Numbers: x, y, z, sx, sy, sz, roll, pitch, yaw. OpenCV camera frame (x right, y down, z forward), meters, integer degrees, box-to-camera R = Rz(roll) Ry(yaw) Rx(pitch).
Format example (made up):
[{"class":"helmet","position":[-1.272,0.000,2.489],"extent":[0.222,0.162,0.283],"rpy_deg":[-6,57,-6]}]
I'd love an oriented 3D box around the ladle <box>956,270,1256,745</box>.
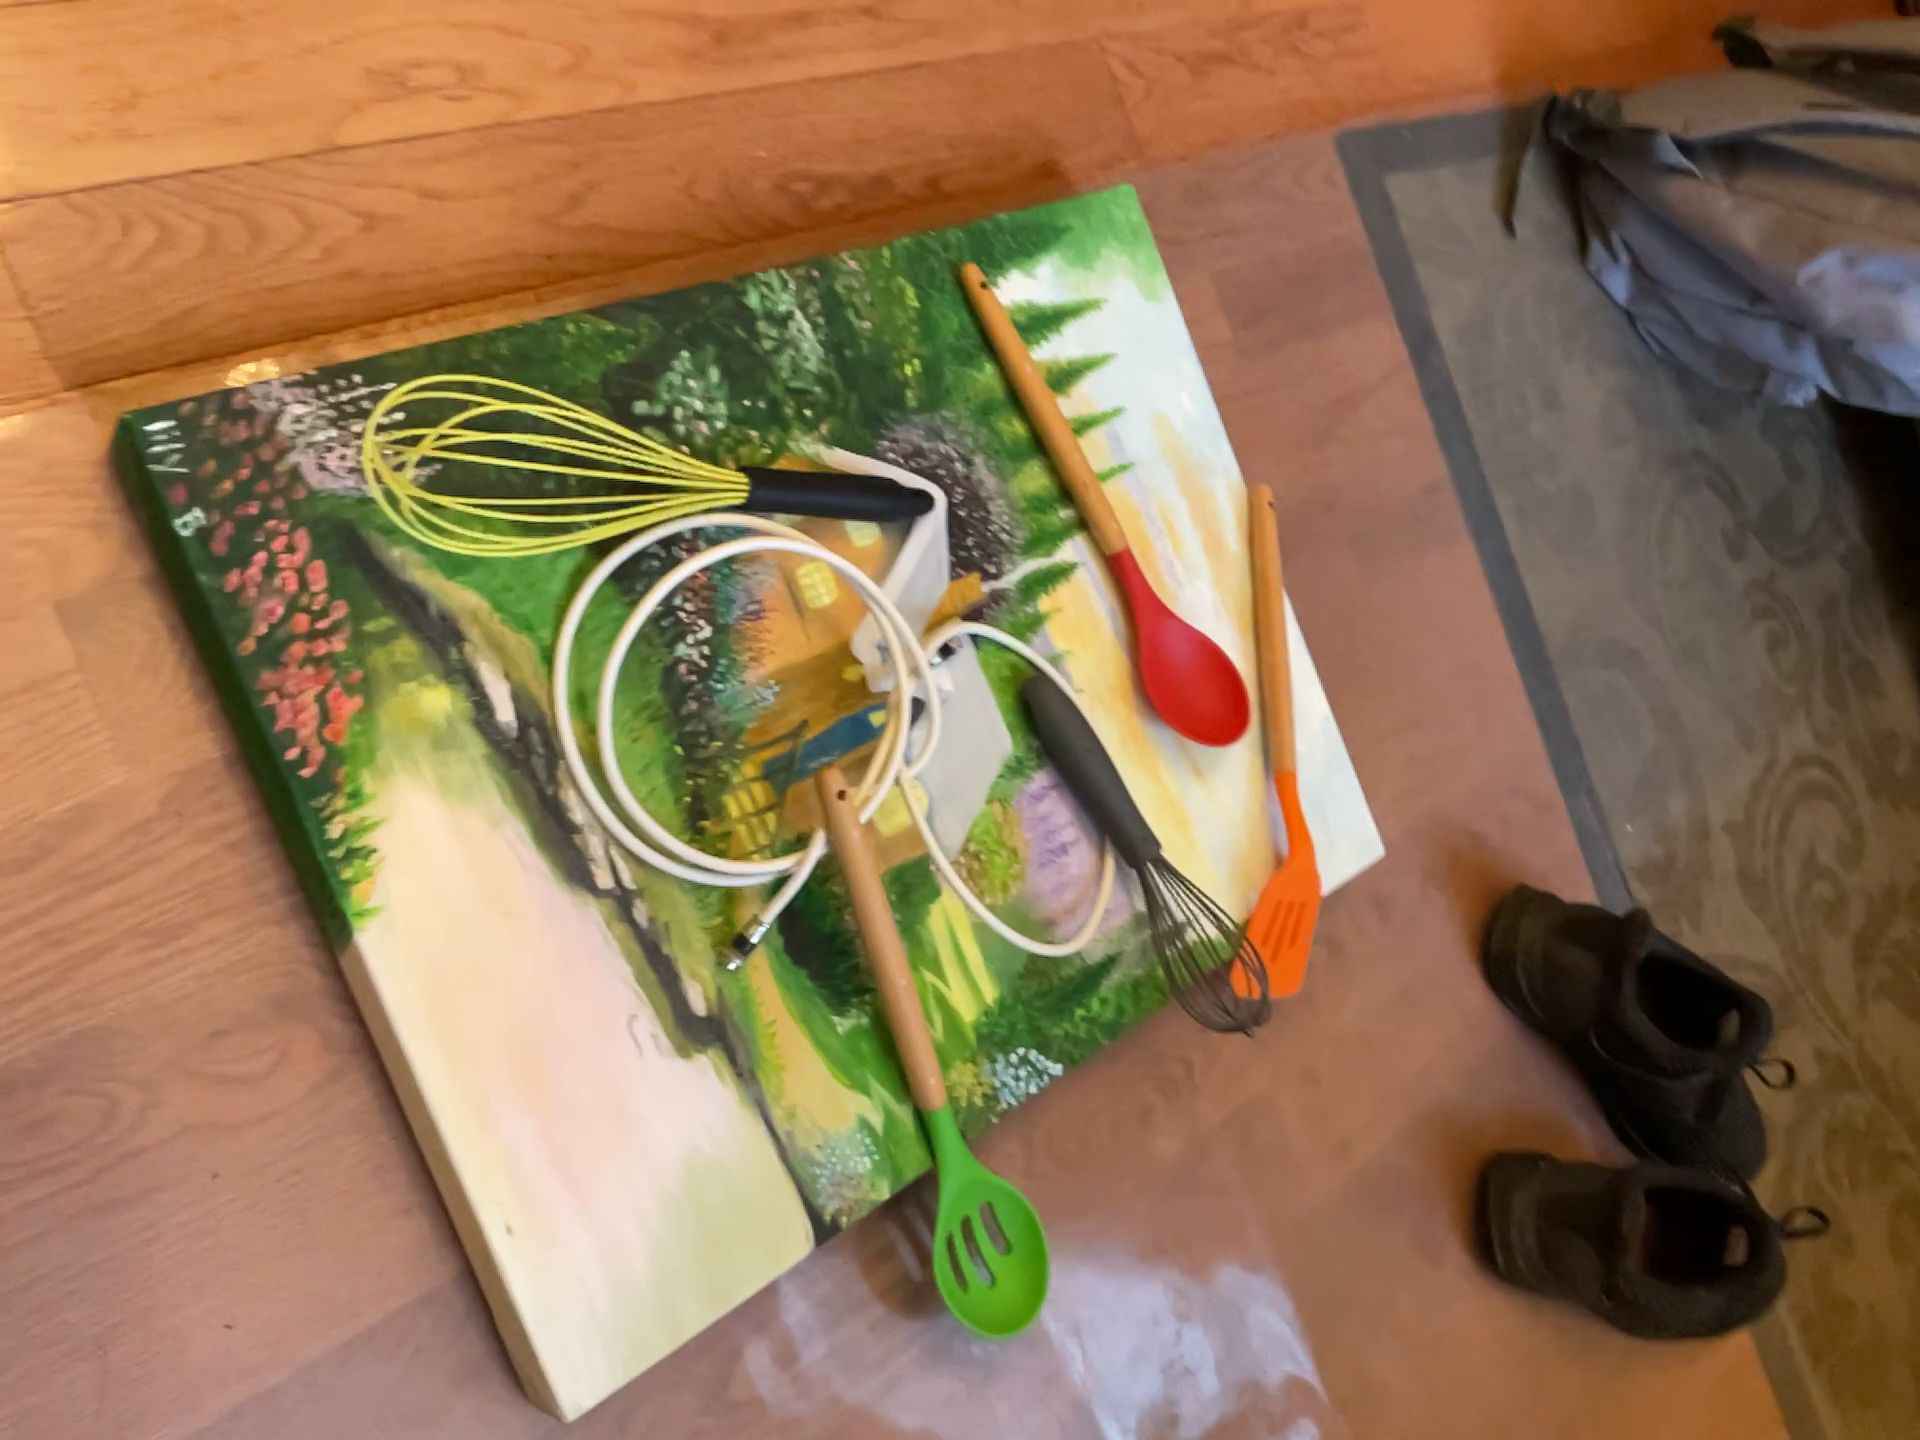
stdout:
[{"class":"ladle","position":[0.081,-0.121,0.930],"extent":[0.069,0.031,0.315],"rpy_deg":[-36,99,-36]}]

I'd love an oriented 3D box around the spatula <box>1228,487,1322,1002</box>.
[{"class":"spatula","position":[0.192,0.012,0.992],"extent":[0.081,0.041,0.323],"rpy_deg":[9,73,-45]}]

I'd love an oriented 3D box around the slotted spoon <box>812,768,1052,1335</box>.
[{"class":"slotted spoon","position":[-0.019,0.168,0.792],"extent":[0.070,0.031,0.313],"rpy_deg":[-29,109,-35]}]

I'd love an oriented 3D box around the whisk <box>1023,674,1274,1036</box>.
[{"class":"whisk","position":[0.104,0.076,0.894],"extent":[0.055,0.055,0.239],"rpy_deg":[-37,96,-45]}]

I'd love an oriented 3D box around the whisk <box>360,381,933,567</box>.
[{"class":"whisk","position":[-0.134,-0.112,0.765],"extent":[0.311,0.067,0.080],"rpy_deg":[-3,88,-41]}]
